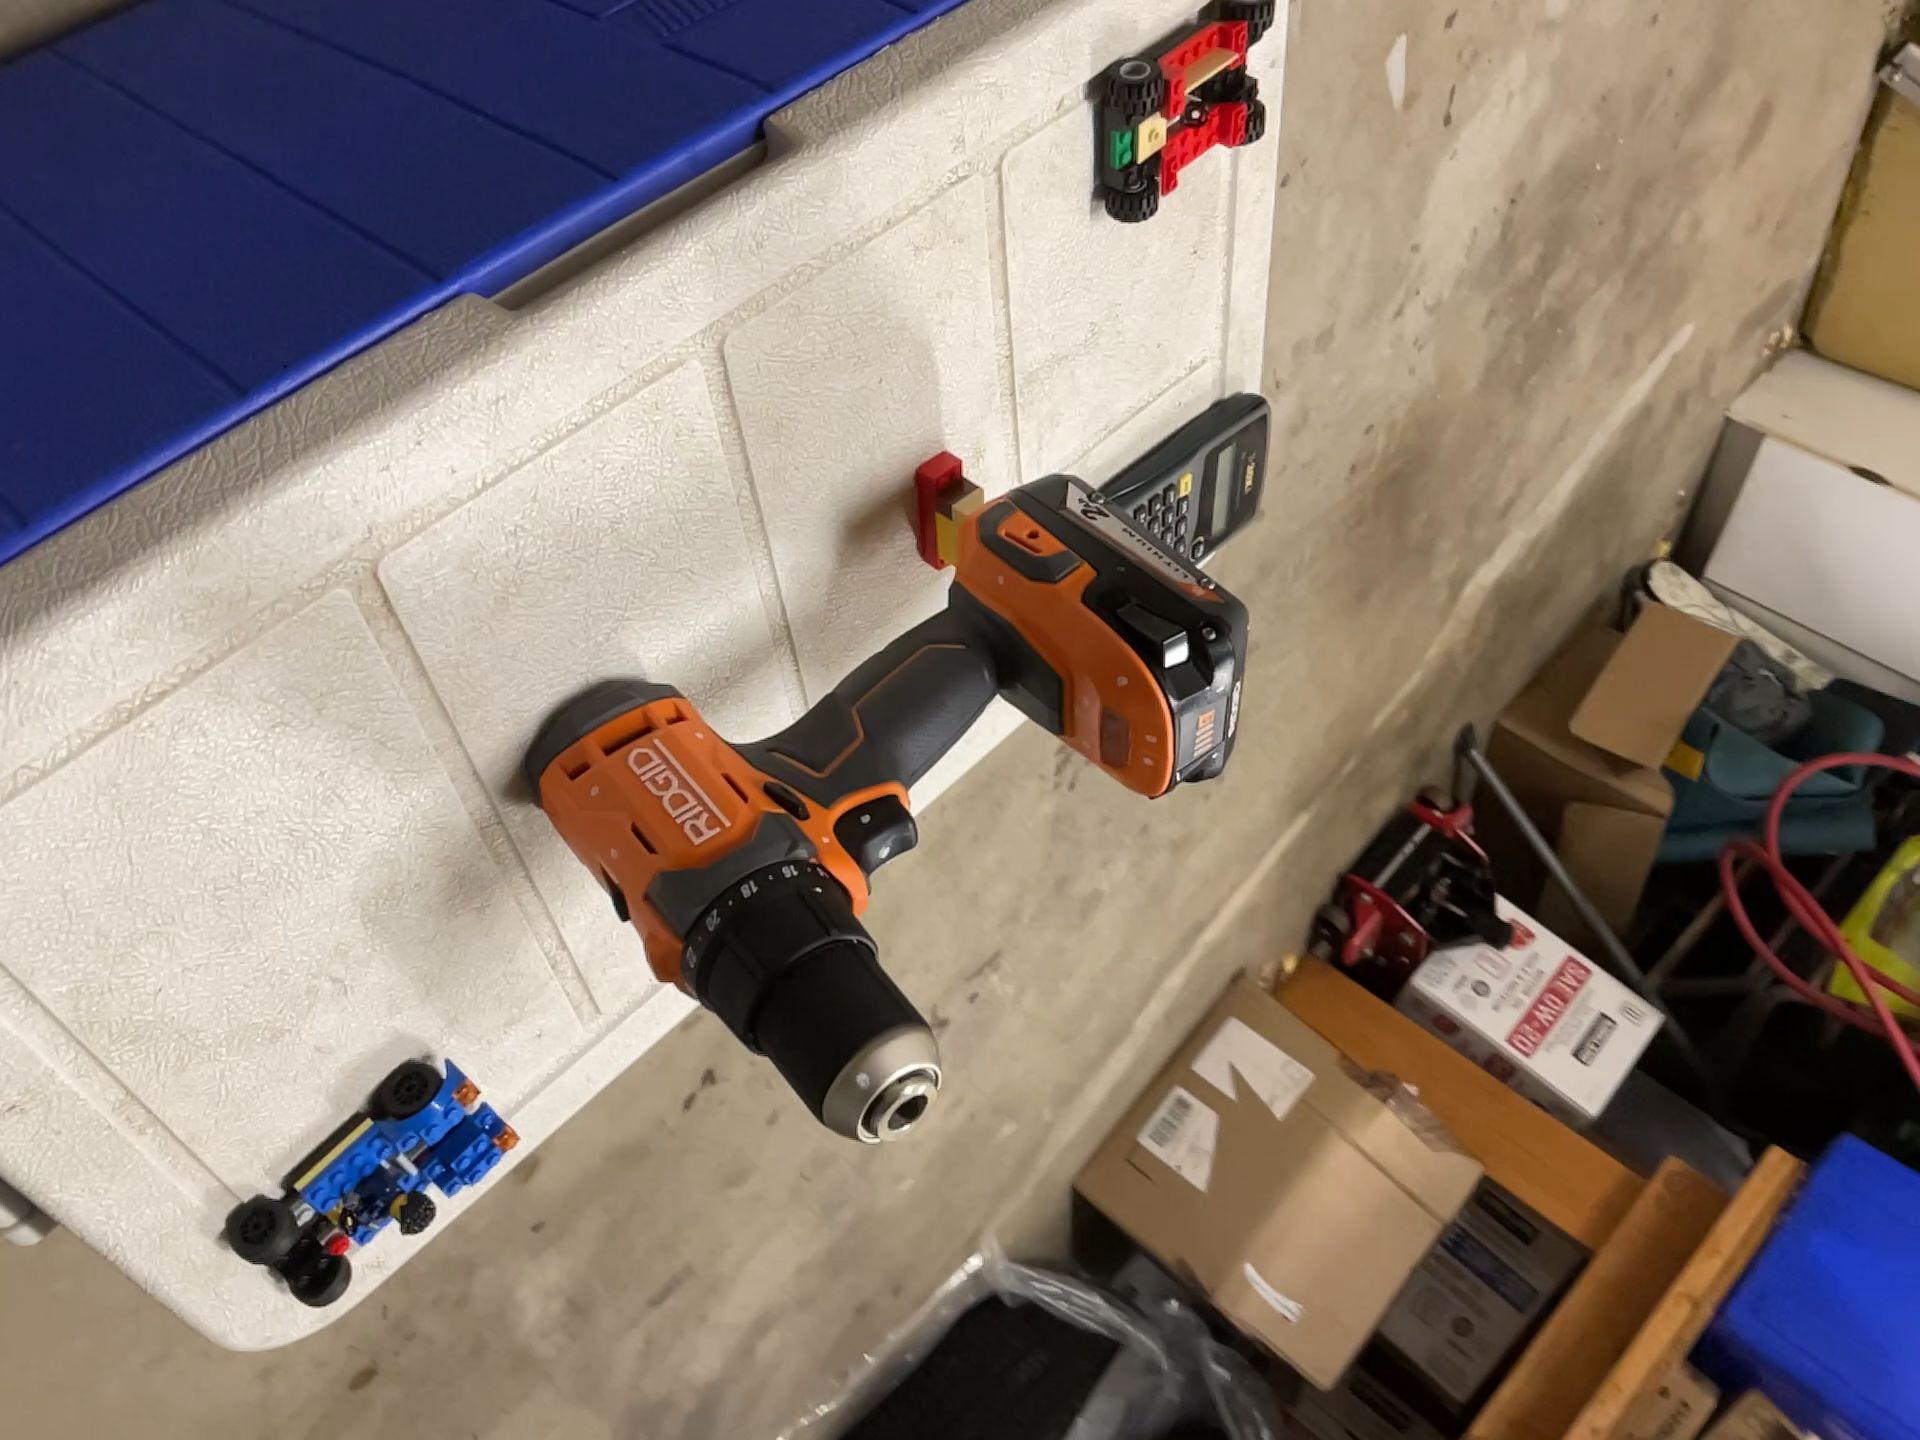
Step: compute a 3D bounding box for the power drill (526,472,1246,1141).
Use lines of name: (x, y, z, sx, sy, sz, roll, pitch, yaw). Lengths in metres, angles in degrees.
power drill: (-0.006, 0.022, 0.534, 0.226, 0.185, 0.084, -30, 141, -22)
